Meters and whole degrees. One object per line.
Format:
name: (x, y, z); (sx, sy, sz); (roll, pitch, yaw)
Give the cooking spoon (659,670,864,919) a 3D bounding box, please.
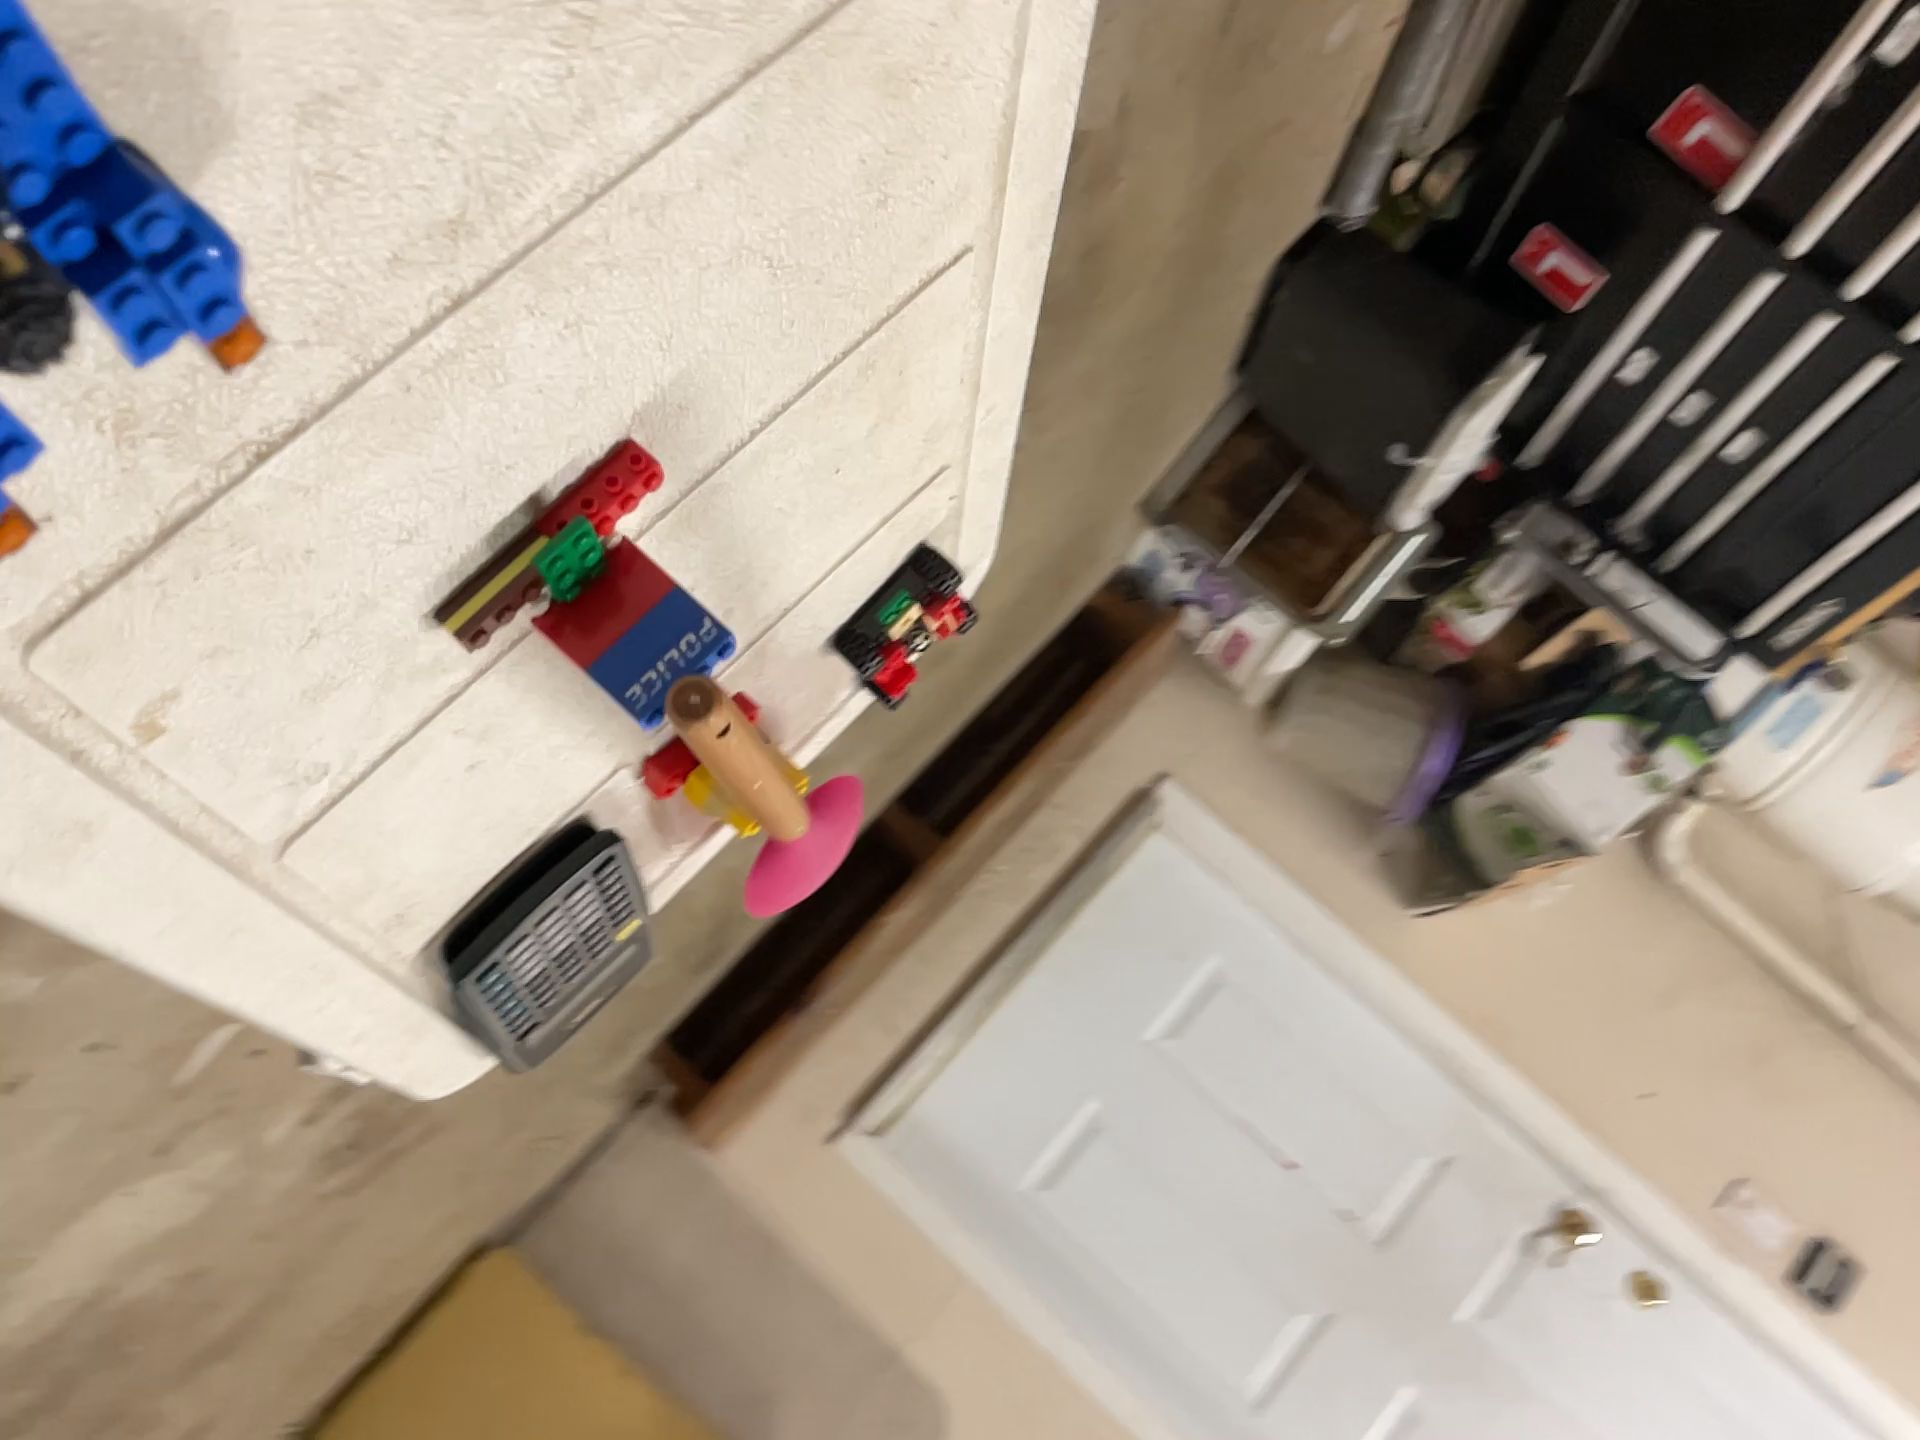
cooking spoon: (-0.061, 0.029, 0.528); (0.069, 0.017, 0.318); (-51, 171, -9)
